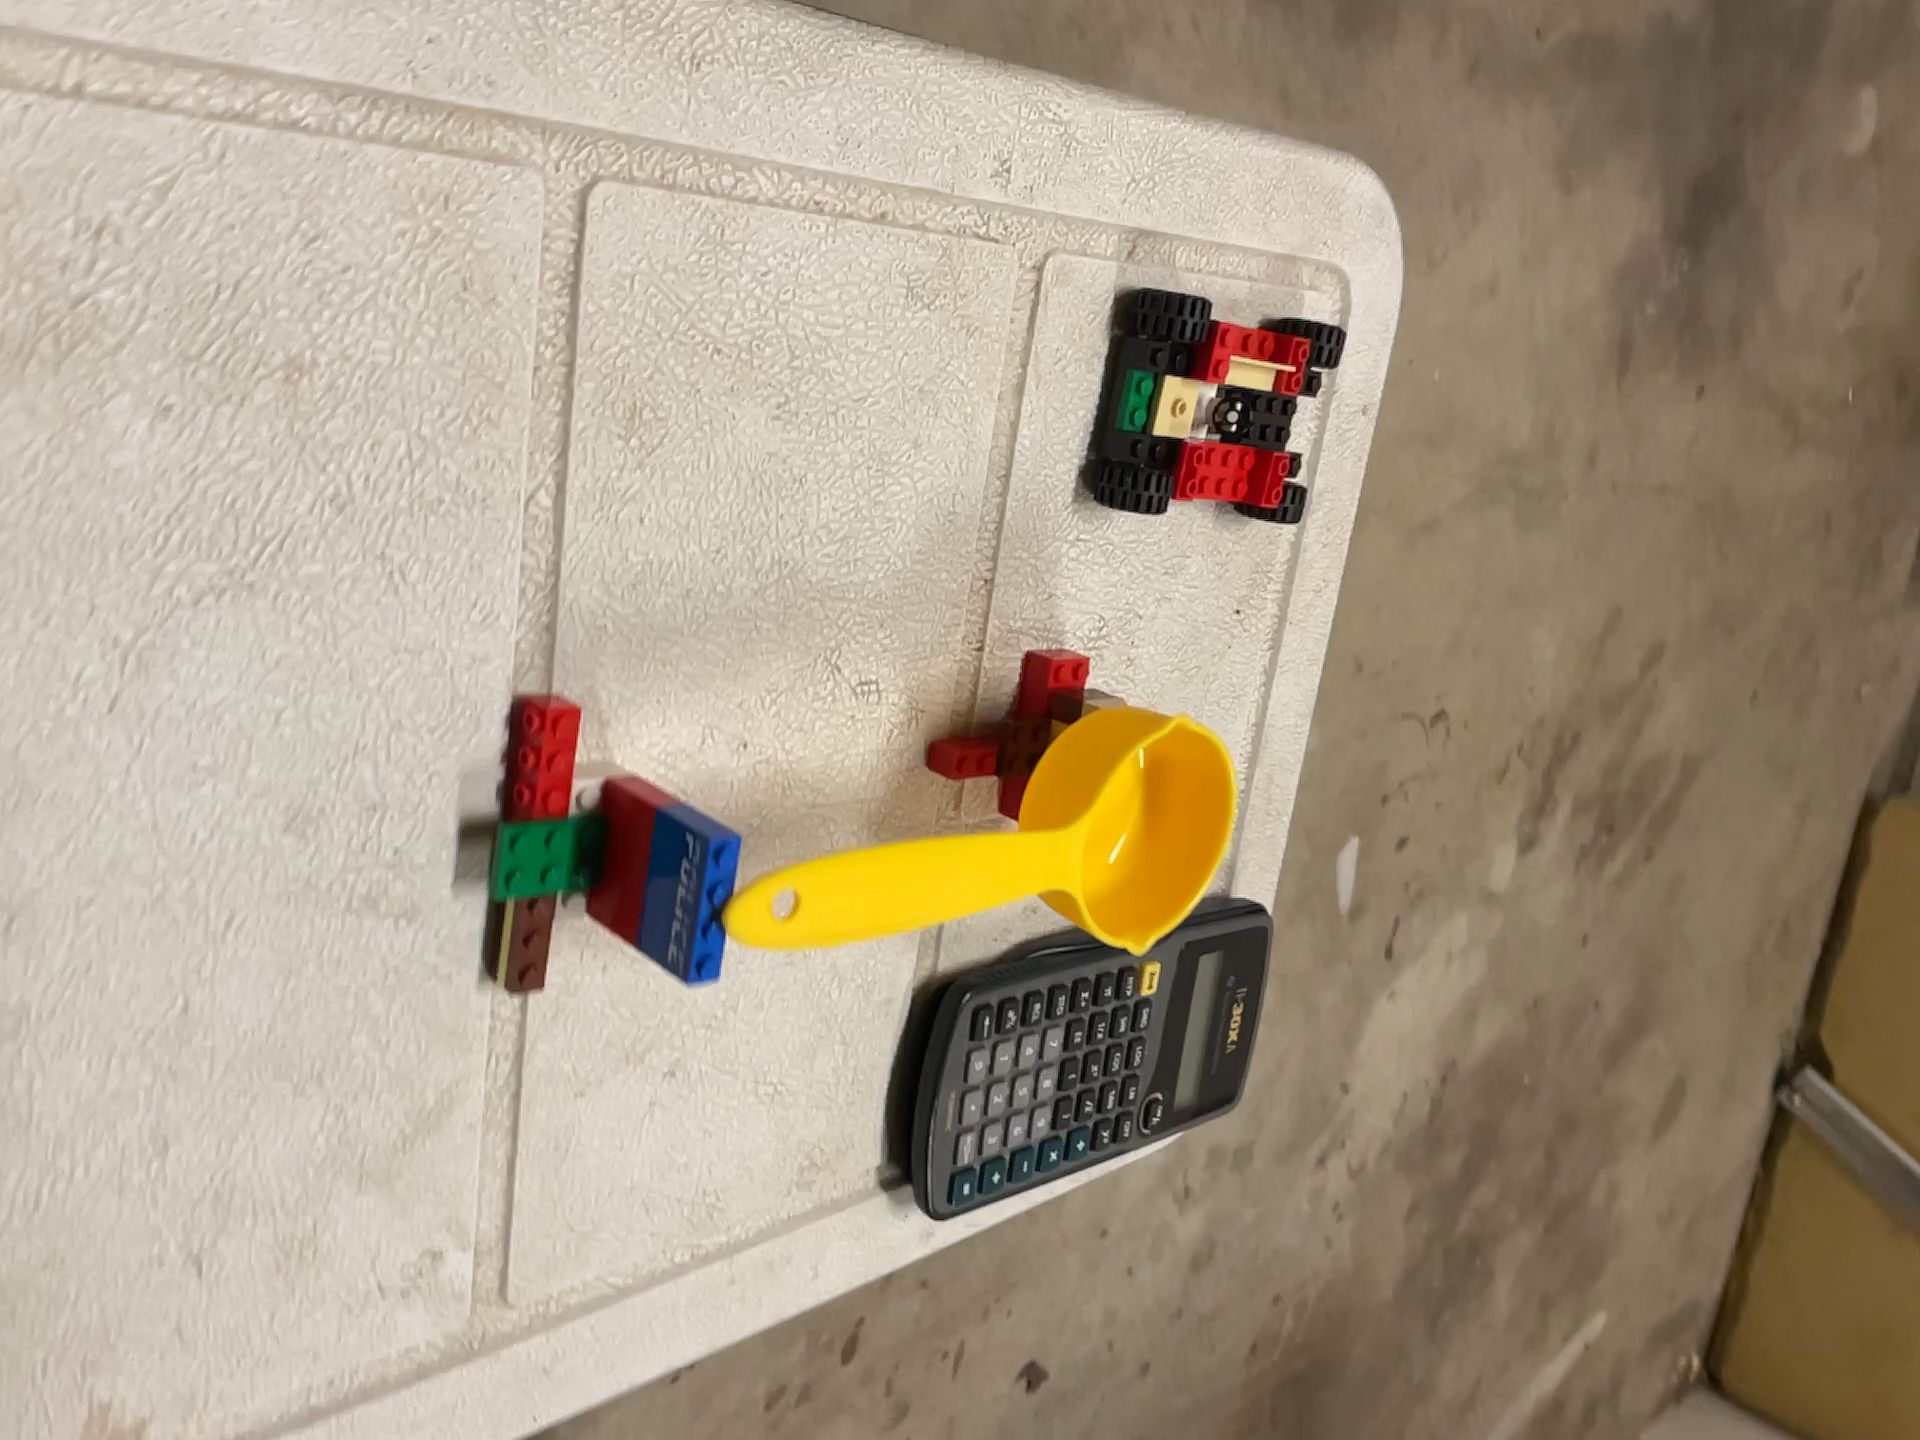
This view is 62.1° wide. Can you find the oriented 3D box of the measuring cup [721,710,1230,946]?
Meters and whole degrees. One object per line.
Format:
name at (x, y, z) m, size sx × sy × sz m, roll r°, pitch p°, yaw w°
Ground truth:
measuring cup at (0.004, 0.029, 0.382) m, size 0.156 × 0.029 × 0.062 m, roll -6°, pitch 111°, yaw -40°
